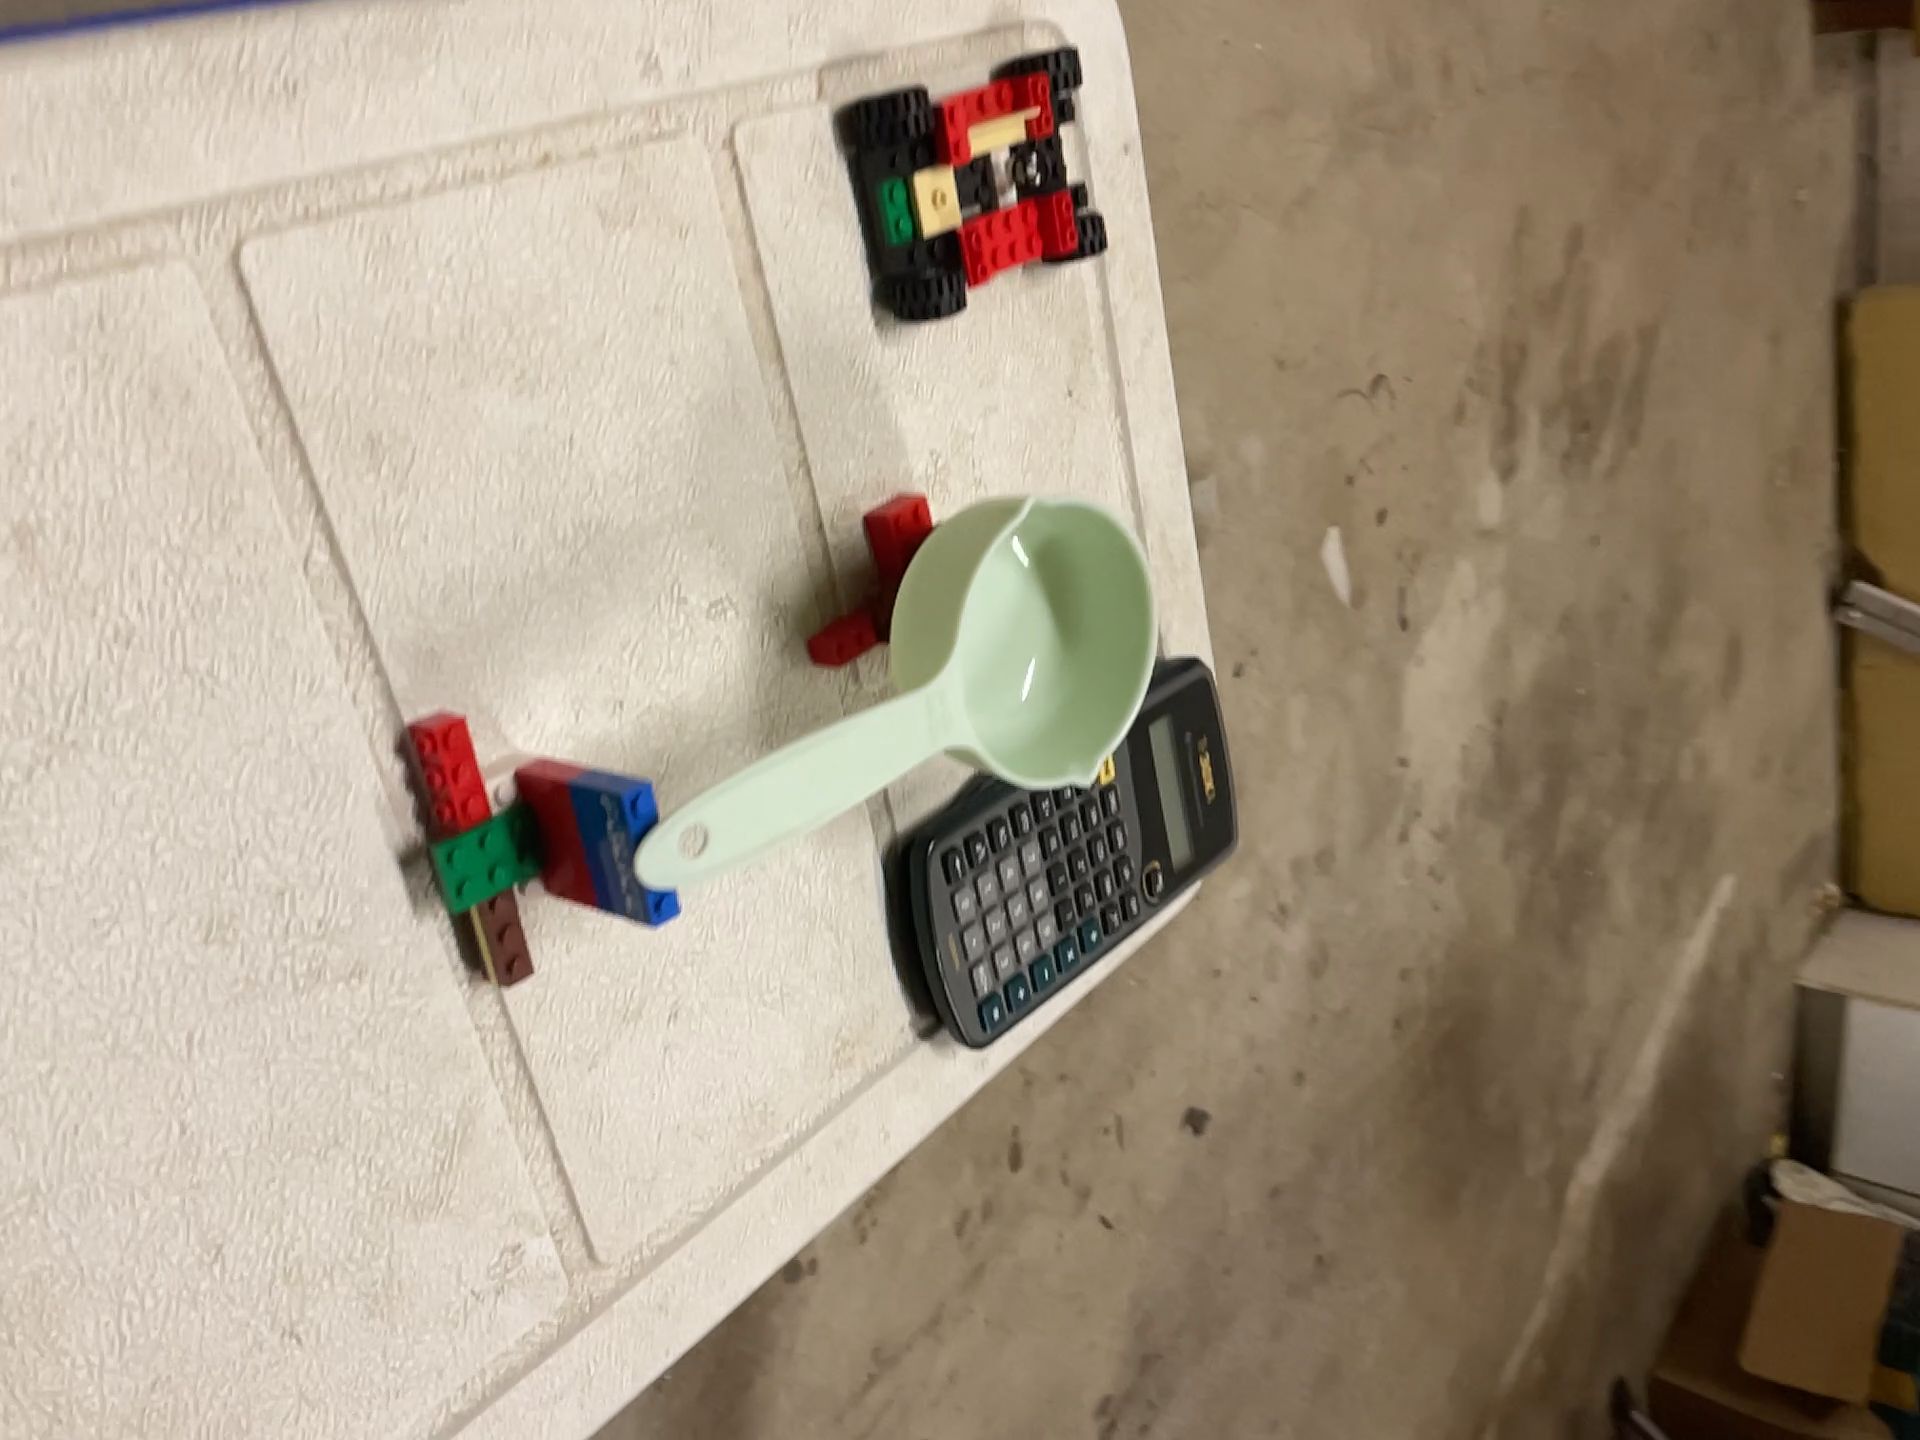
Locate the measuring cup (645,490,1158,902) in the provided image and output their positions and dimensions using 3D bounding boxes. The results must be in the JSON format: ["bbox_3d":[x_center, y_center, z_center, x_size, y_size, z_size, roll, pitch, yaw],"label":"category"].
[{"bbox_3d":[-0.017,-0.003,0.398,0.168,0.038,0.083,-31,120,-34],"label":"measuring cup"}]
